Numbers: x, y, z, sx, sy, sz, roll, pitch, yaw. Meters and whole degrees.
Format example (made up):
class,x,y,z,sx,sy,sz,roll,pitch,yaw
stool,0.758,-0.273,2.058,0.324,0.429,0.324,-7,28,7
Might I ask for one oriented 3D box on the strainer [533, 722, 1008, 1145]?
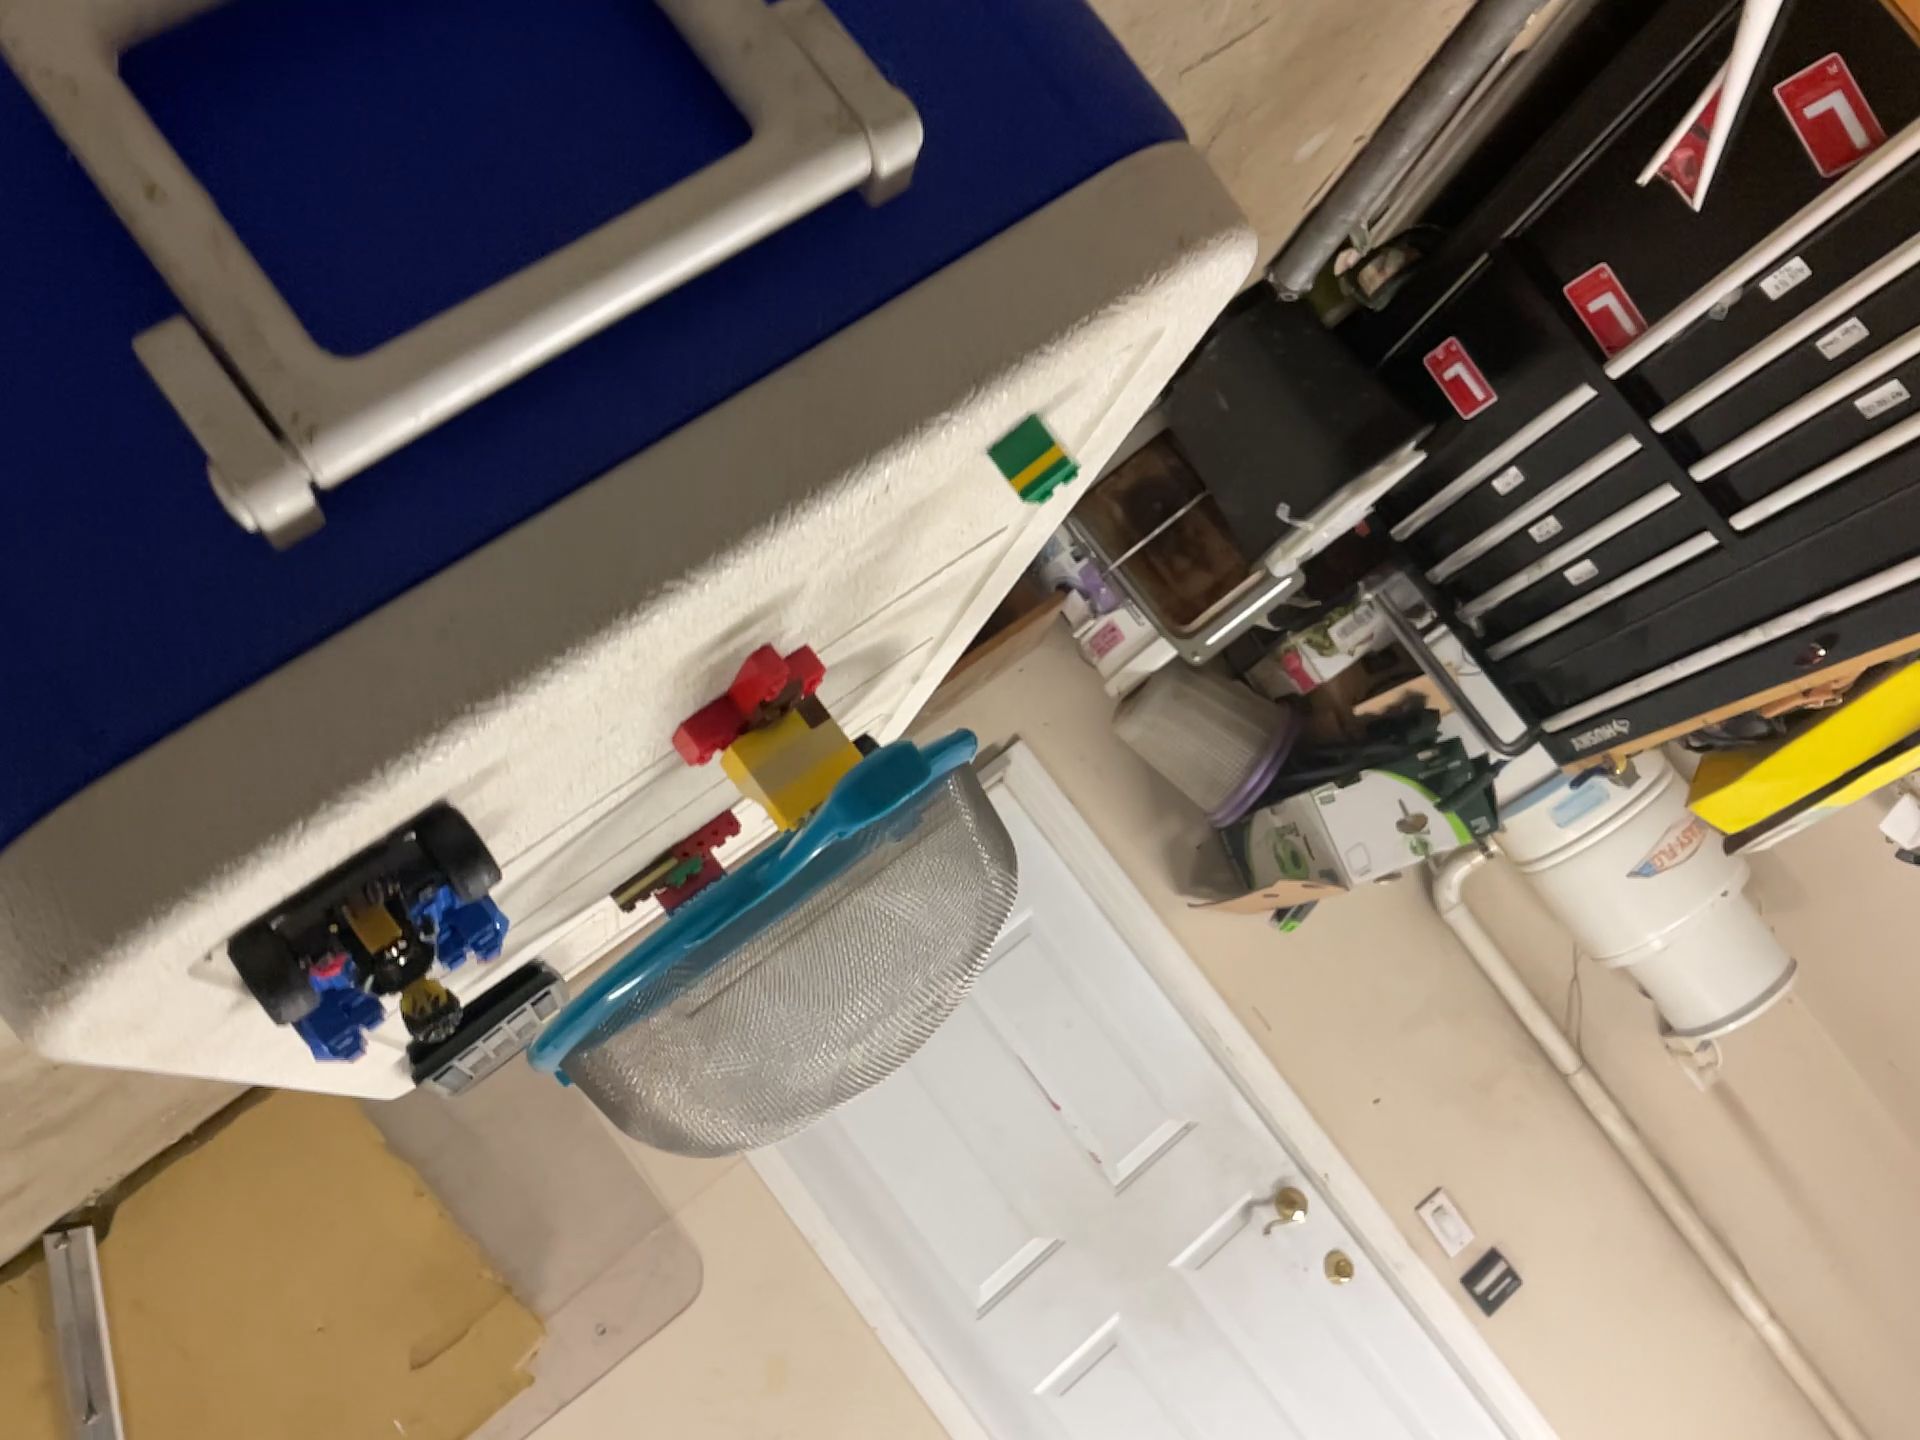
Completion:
class,x,y,z,sx,sy,sz,roll,pitch,yaw
strainer,-0.036,0.083,0.559,0.211,0.095,0.340,-36,177,-20
